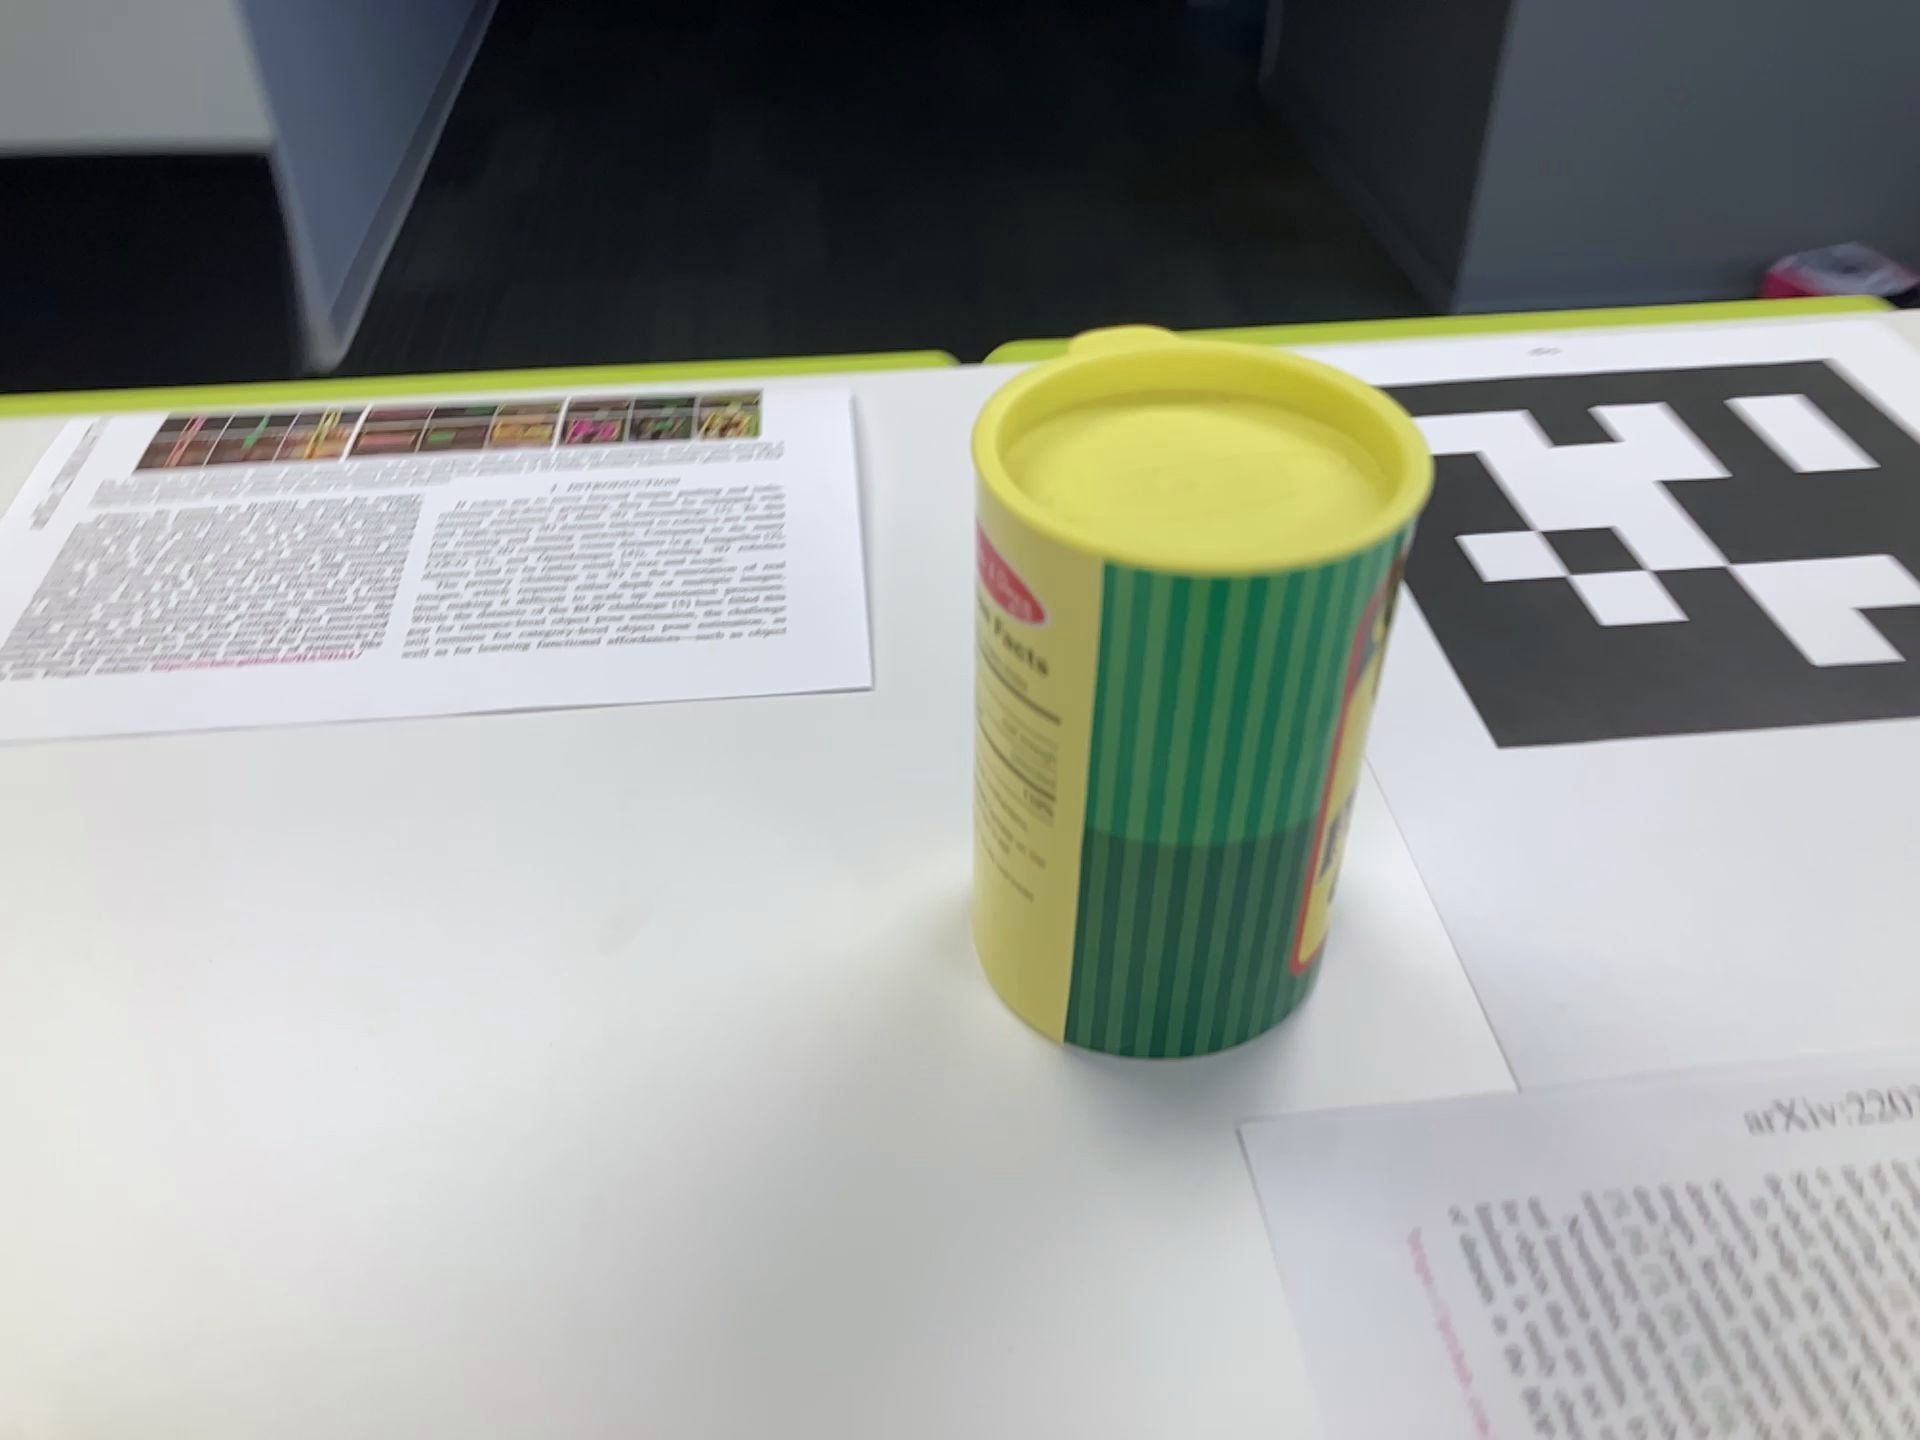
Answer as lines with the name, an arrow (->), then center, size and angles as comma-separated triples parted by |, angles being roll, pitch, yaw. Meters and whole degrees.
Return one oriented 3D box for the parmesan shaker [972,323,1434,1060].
parmesan shaker -> 0.035, -0.003, 0.264 | 0.071, 0.103, 0.071 | 0, 39, 0
